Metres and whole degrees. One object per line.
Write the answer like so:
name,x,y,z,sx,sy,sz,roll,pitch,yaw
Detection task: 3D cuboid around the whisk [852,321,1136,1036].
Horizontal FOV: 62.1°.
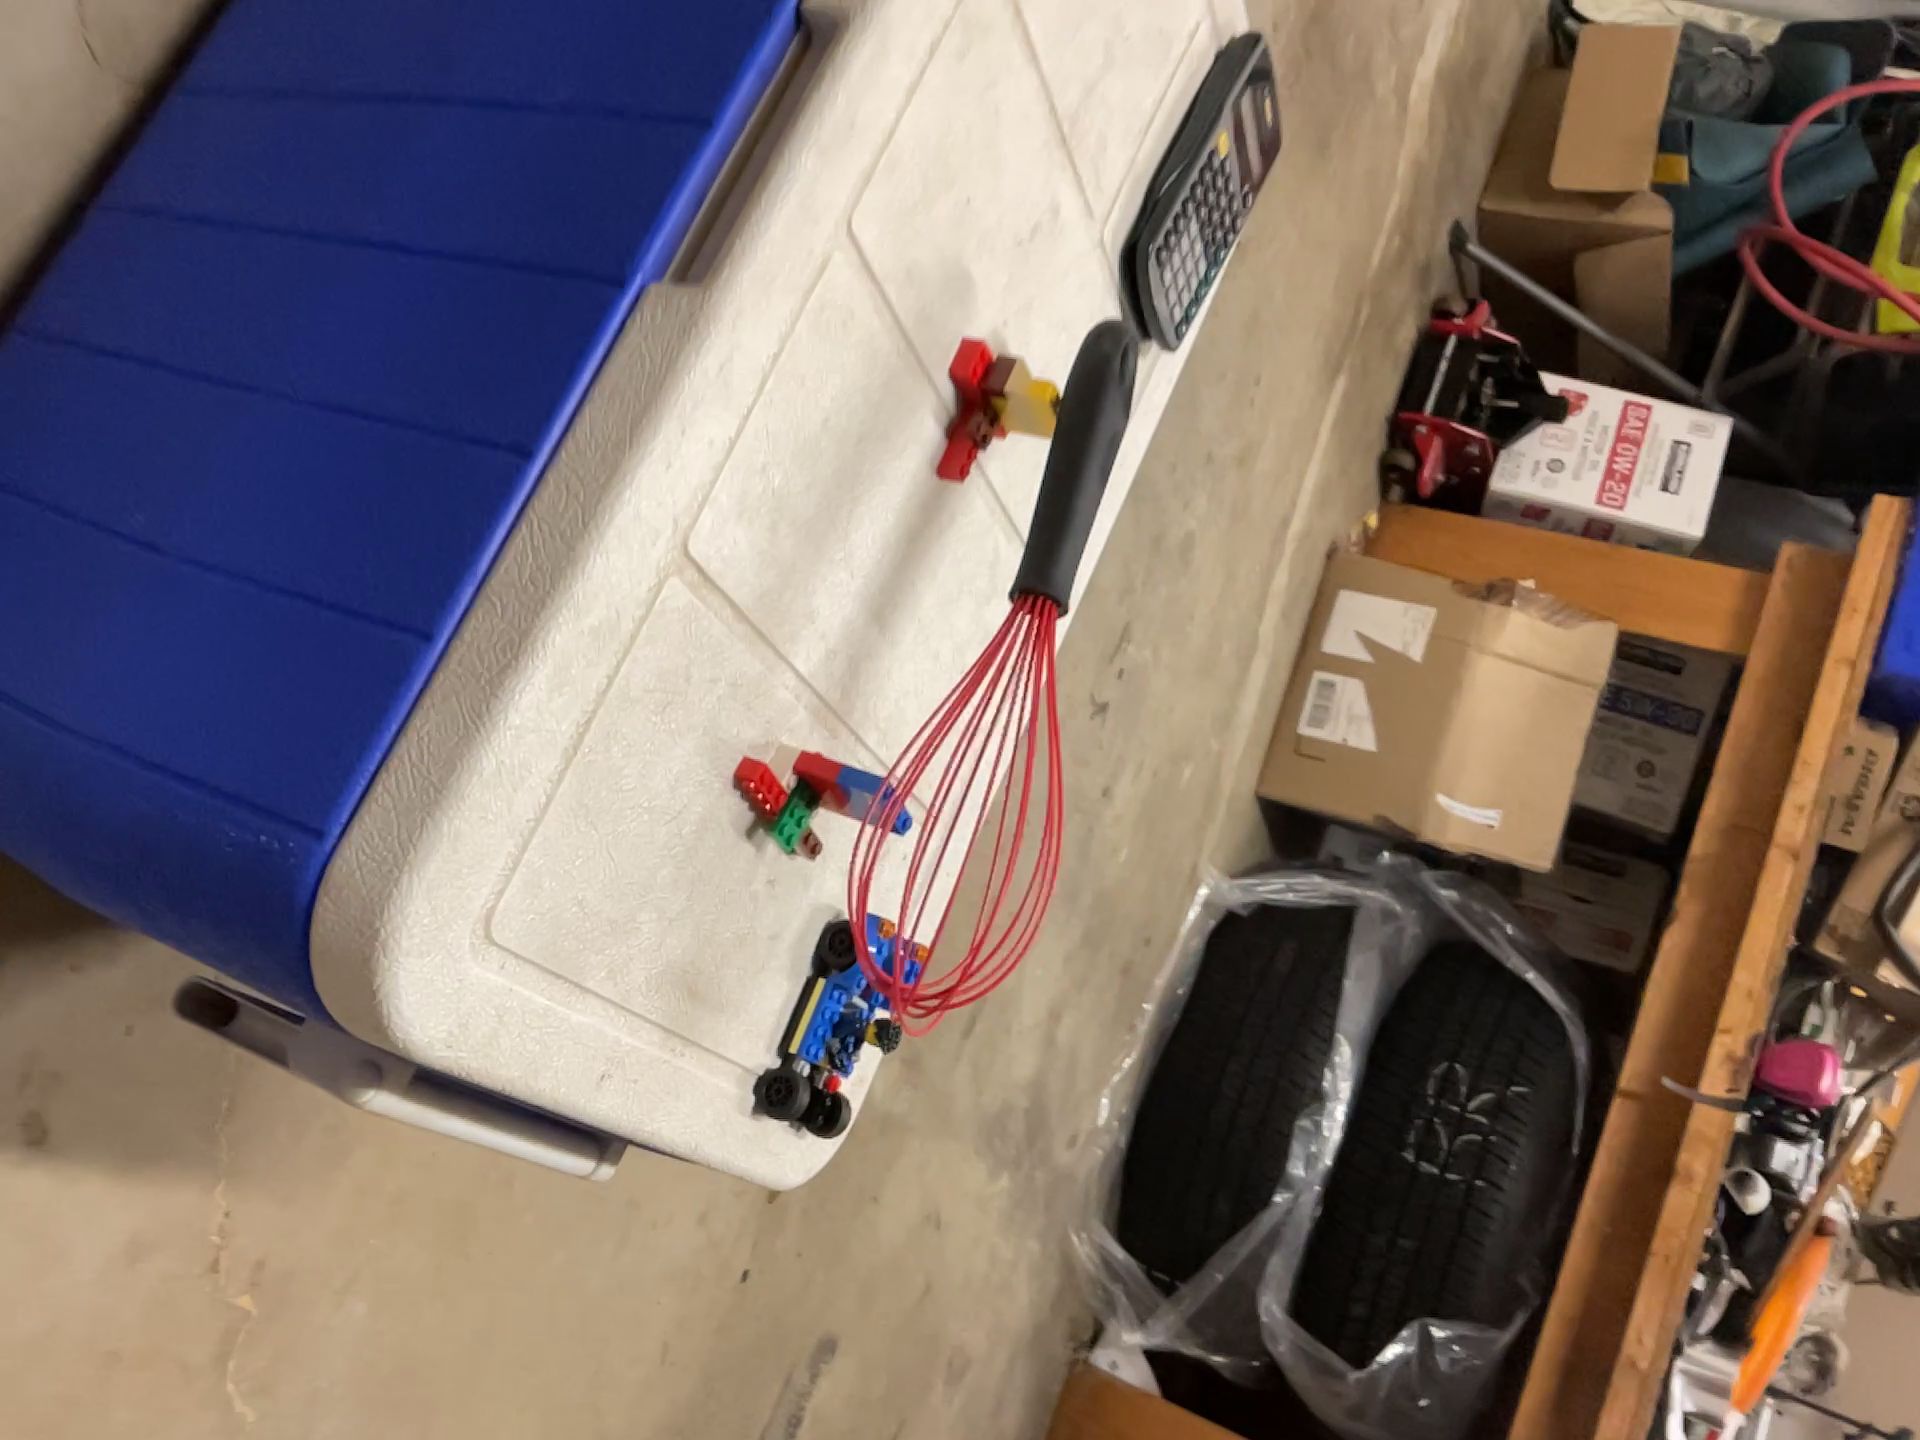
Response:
whisk,0.023,-0.027,0.590,0.073,0.073,0.296,52,50,-55
